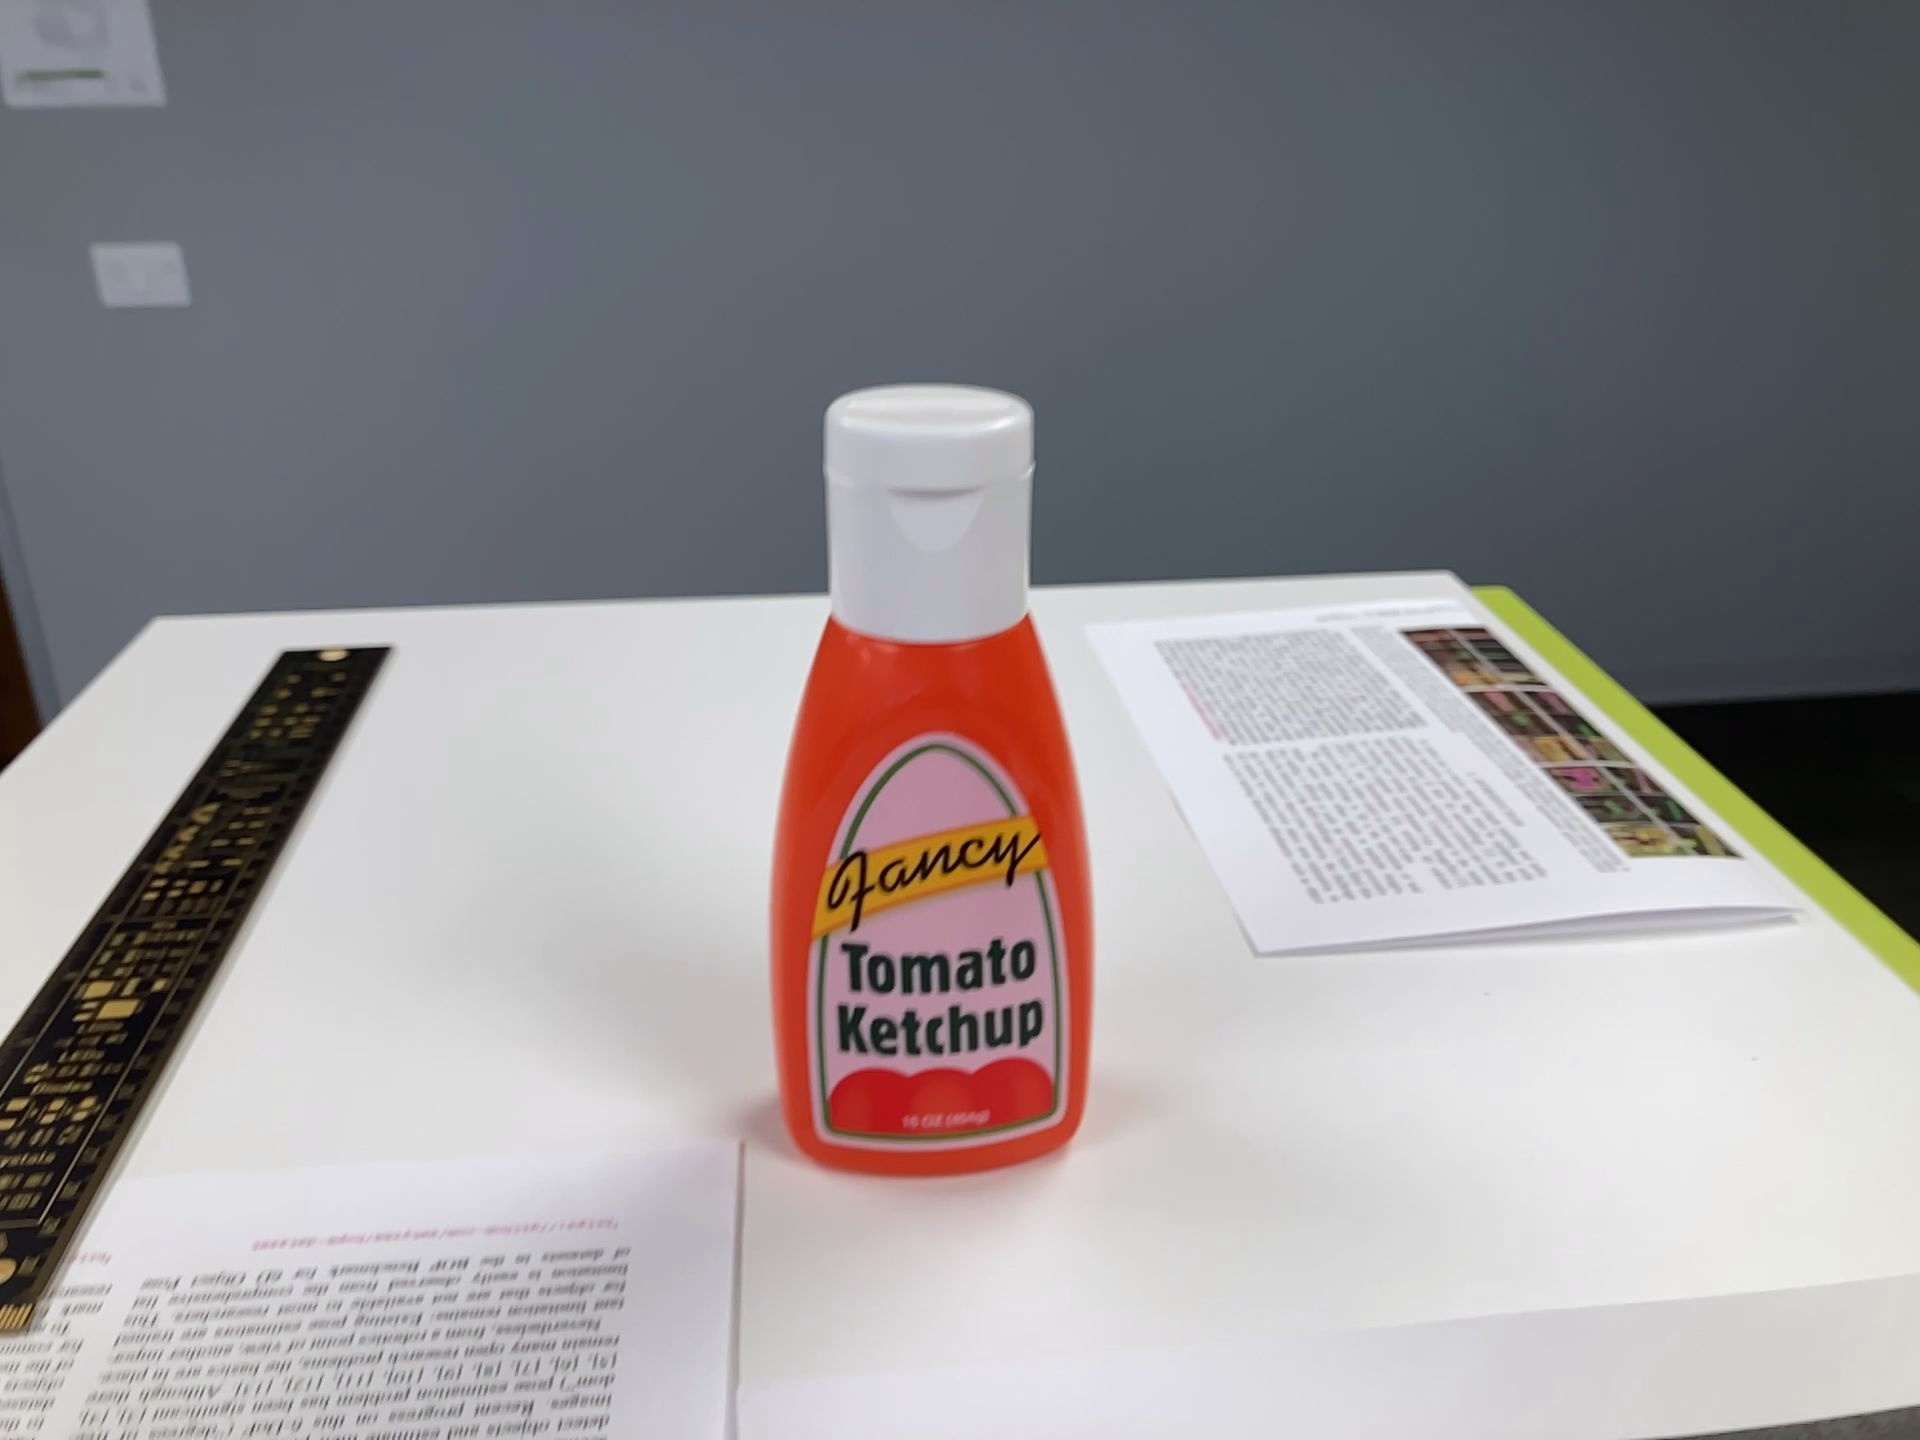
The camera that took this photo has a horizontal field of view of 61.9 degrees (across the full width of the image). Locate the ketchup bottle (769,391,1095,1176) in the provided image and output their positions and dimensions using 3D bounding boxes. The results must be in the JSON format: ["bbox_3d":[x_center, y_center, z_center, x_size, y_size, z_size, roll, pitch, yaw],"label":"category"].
[{"bbox_3d":[-0.006,0.014,0.306,0.065,0.149,0.043,-2,23,-5],"label":"ketchup bottle"}]
